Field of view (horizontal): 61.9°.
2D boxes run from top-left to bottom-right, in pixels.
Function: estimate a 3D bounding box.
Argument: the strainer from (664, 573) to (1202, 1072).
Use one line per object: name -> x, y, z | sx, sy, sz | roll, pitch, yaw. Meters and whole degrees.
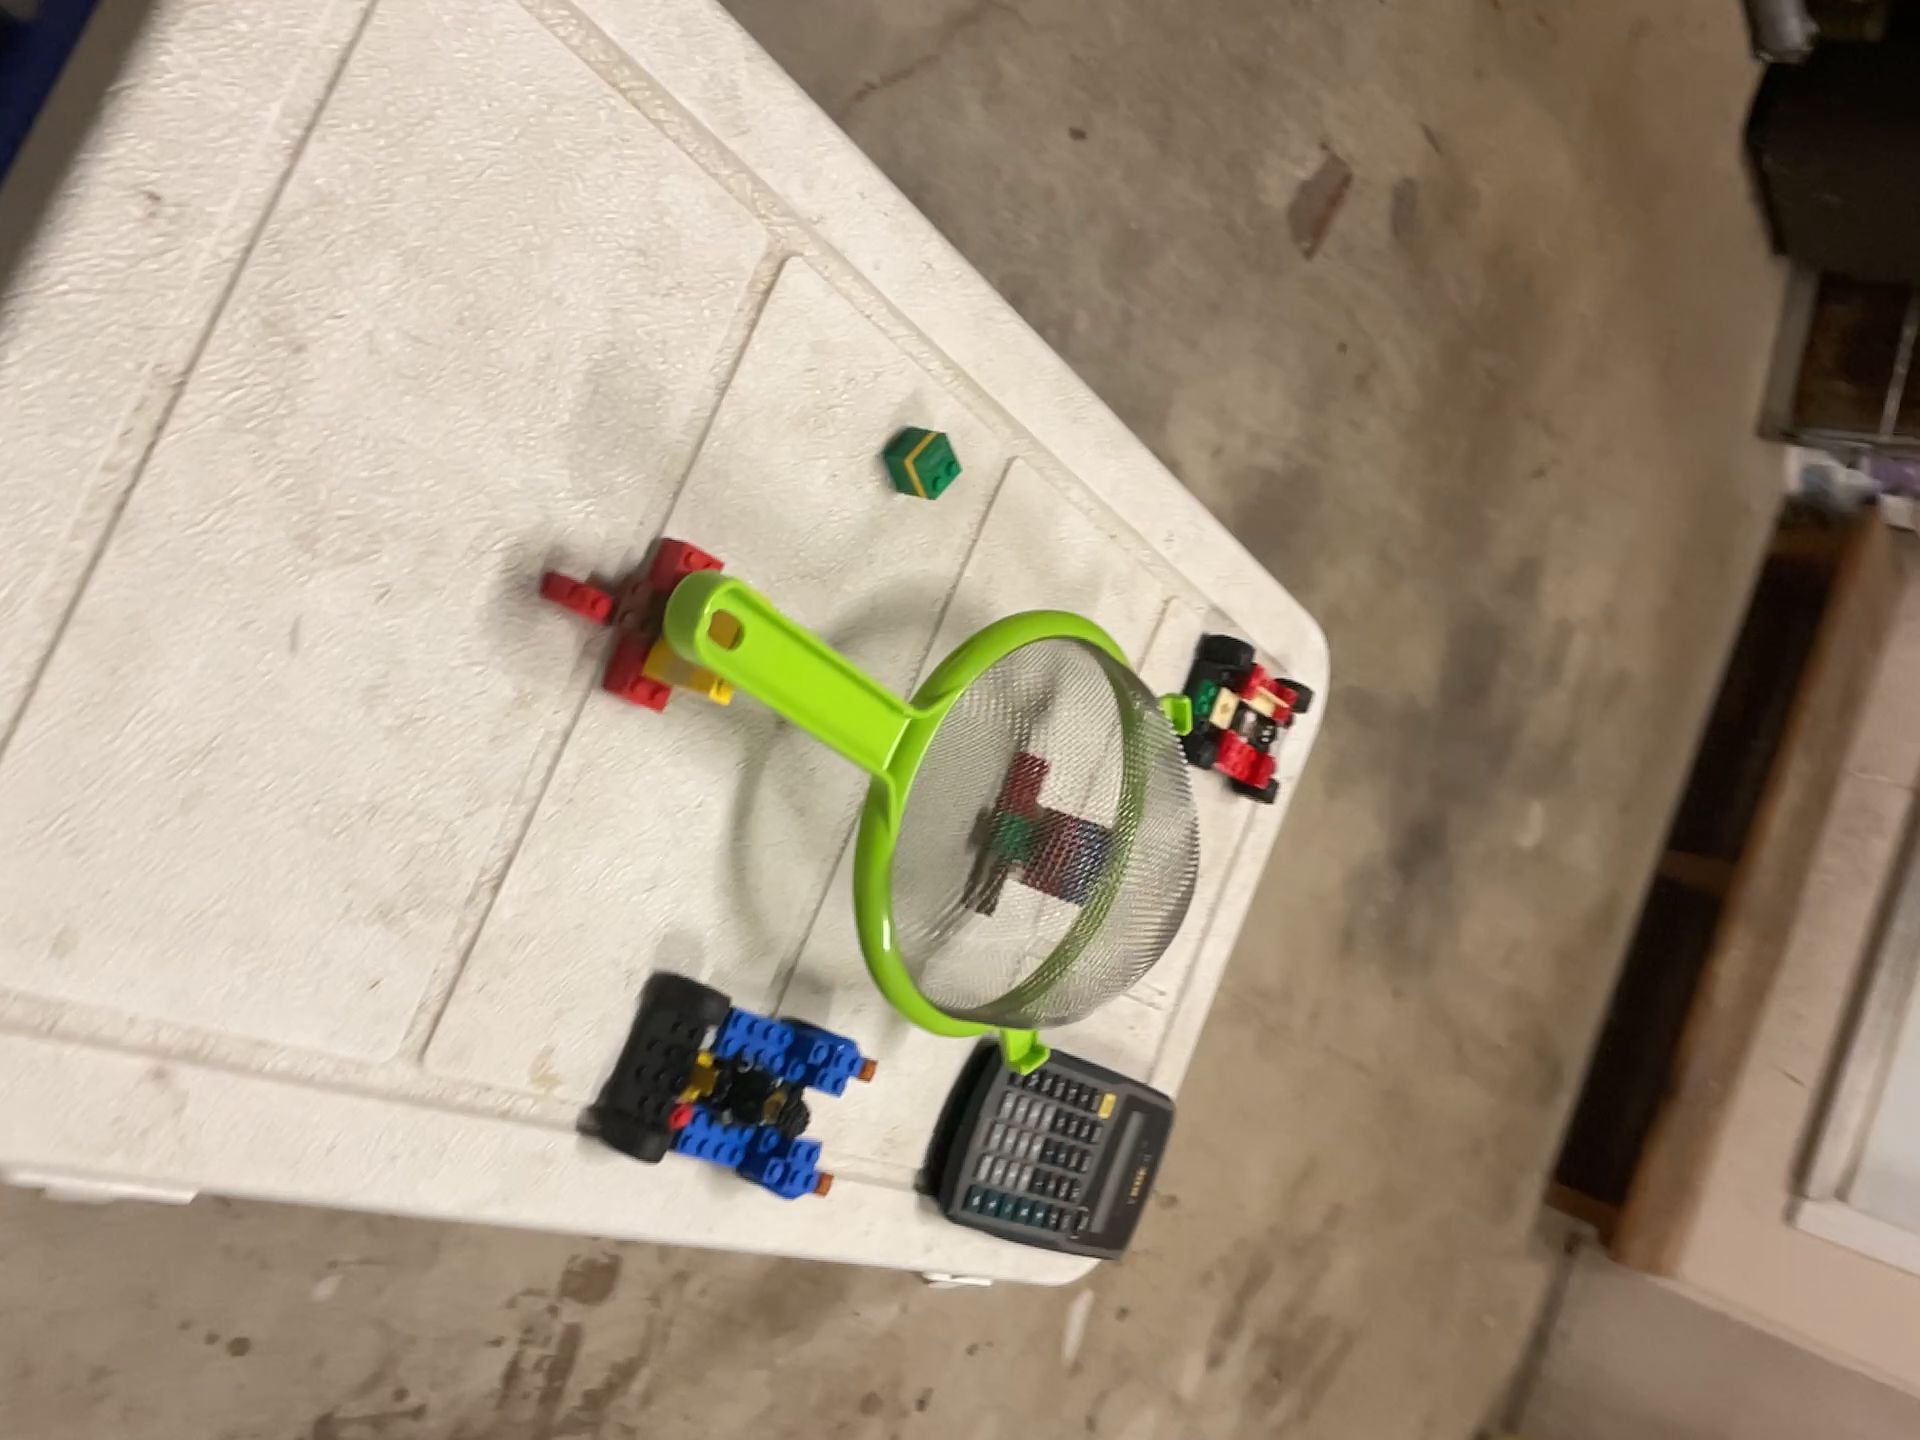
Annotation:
strainer -> 0.012, 0.023, 0.490 | 0.256, 0.069, 0.151 | 37, 76, -52
